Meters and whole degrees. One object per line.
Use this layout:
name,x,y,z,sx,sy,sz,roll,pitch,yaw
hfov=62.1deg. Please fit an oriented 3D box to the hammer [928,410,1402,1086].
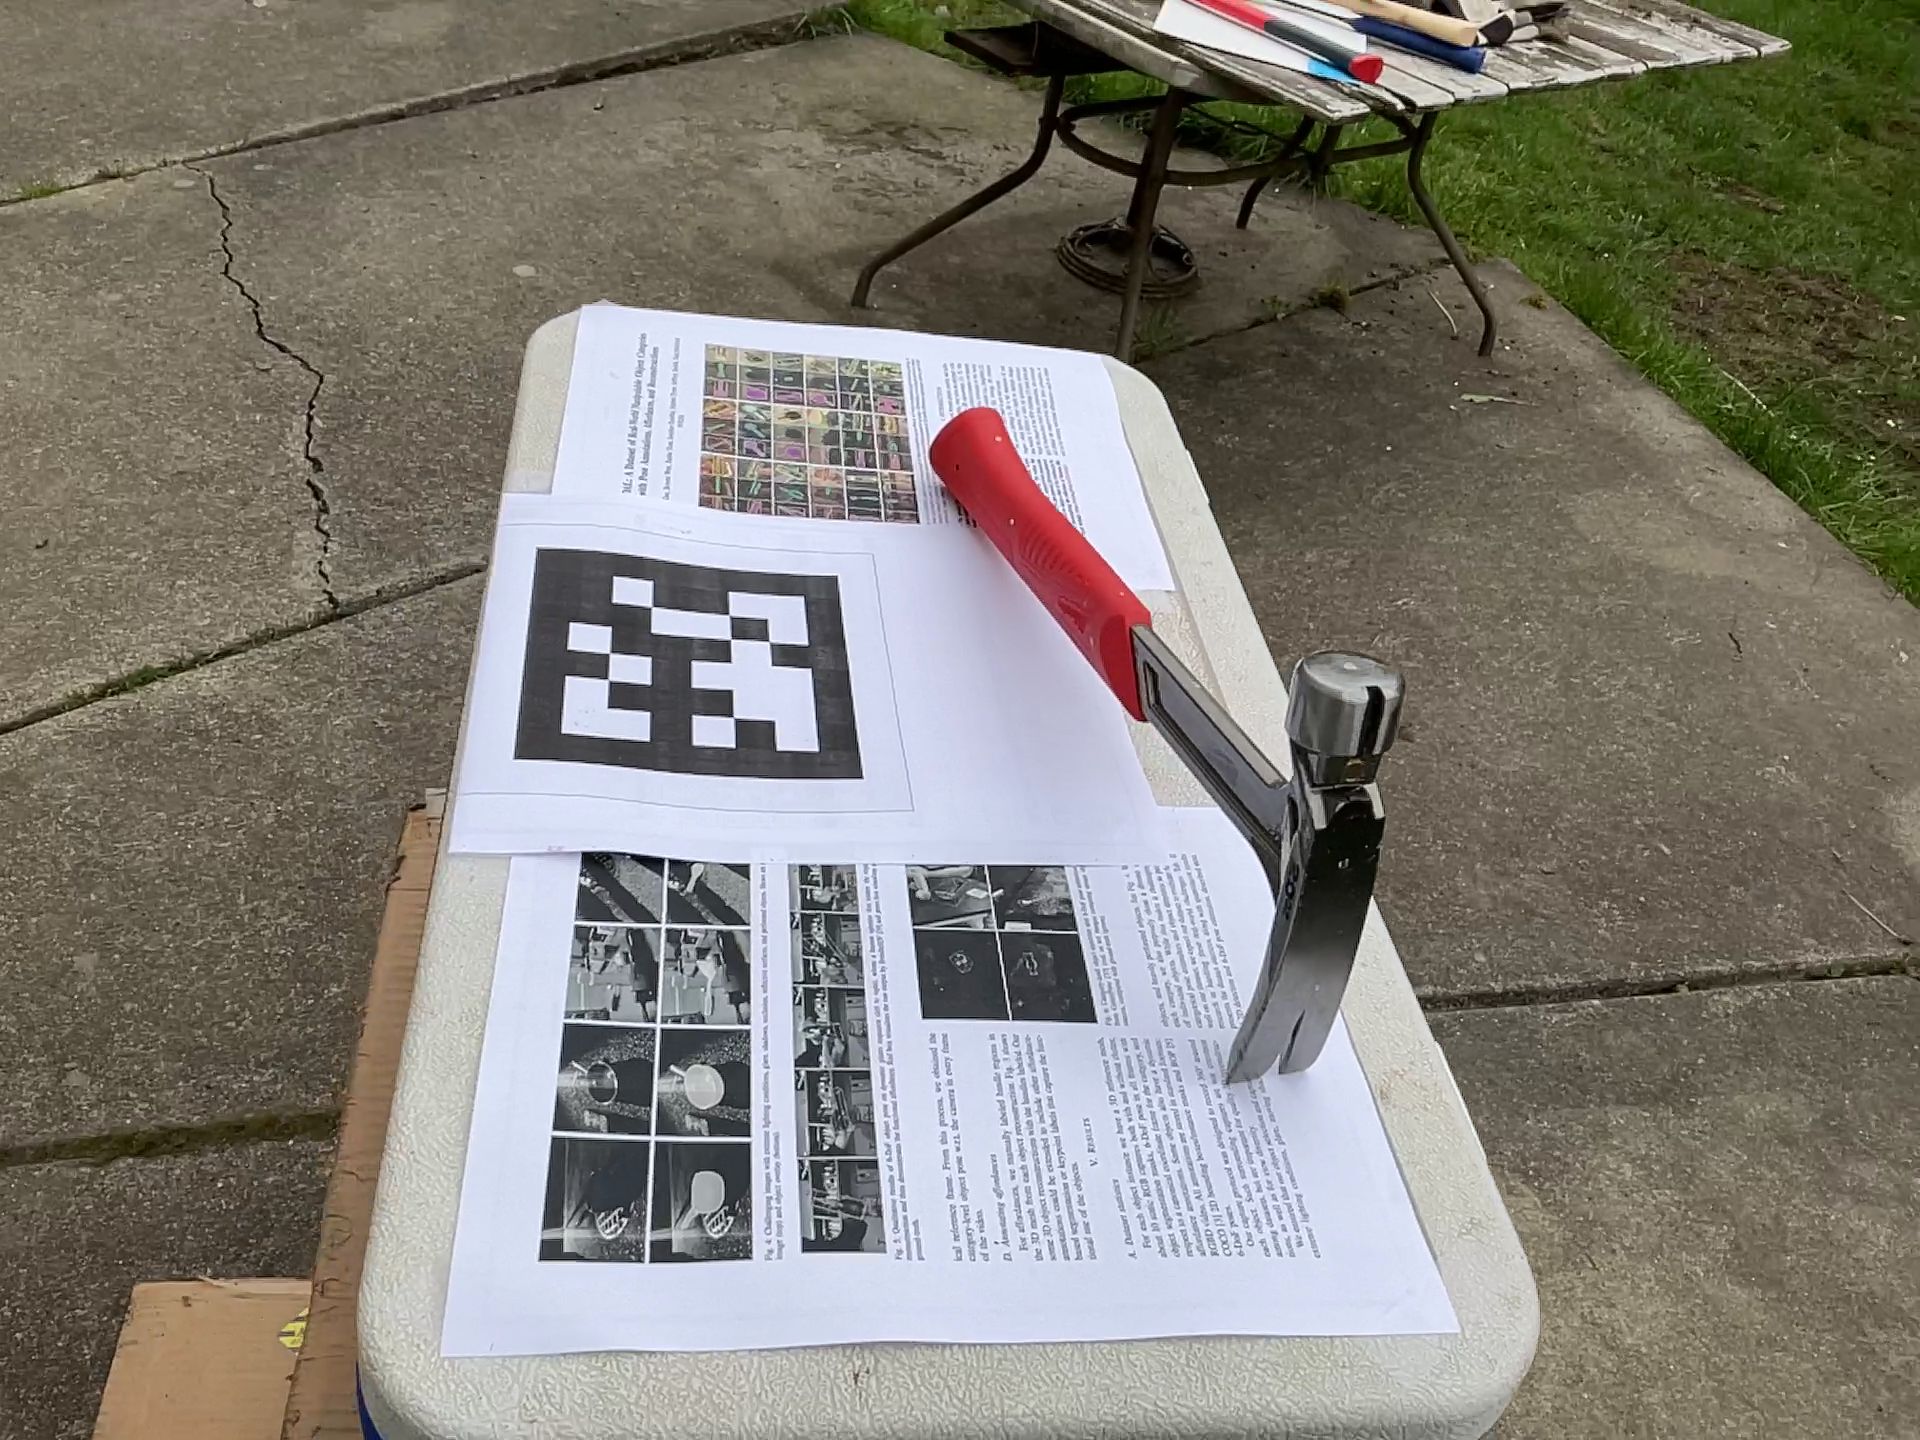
hammer,0.056,-0.029,0.624,0.036,0.149,0.359,-5,31,-18
